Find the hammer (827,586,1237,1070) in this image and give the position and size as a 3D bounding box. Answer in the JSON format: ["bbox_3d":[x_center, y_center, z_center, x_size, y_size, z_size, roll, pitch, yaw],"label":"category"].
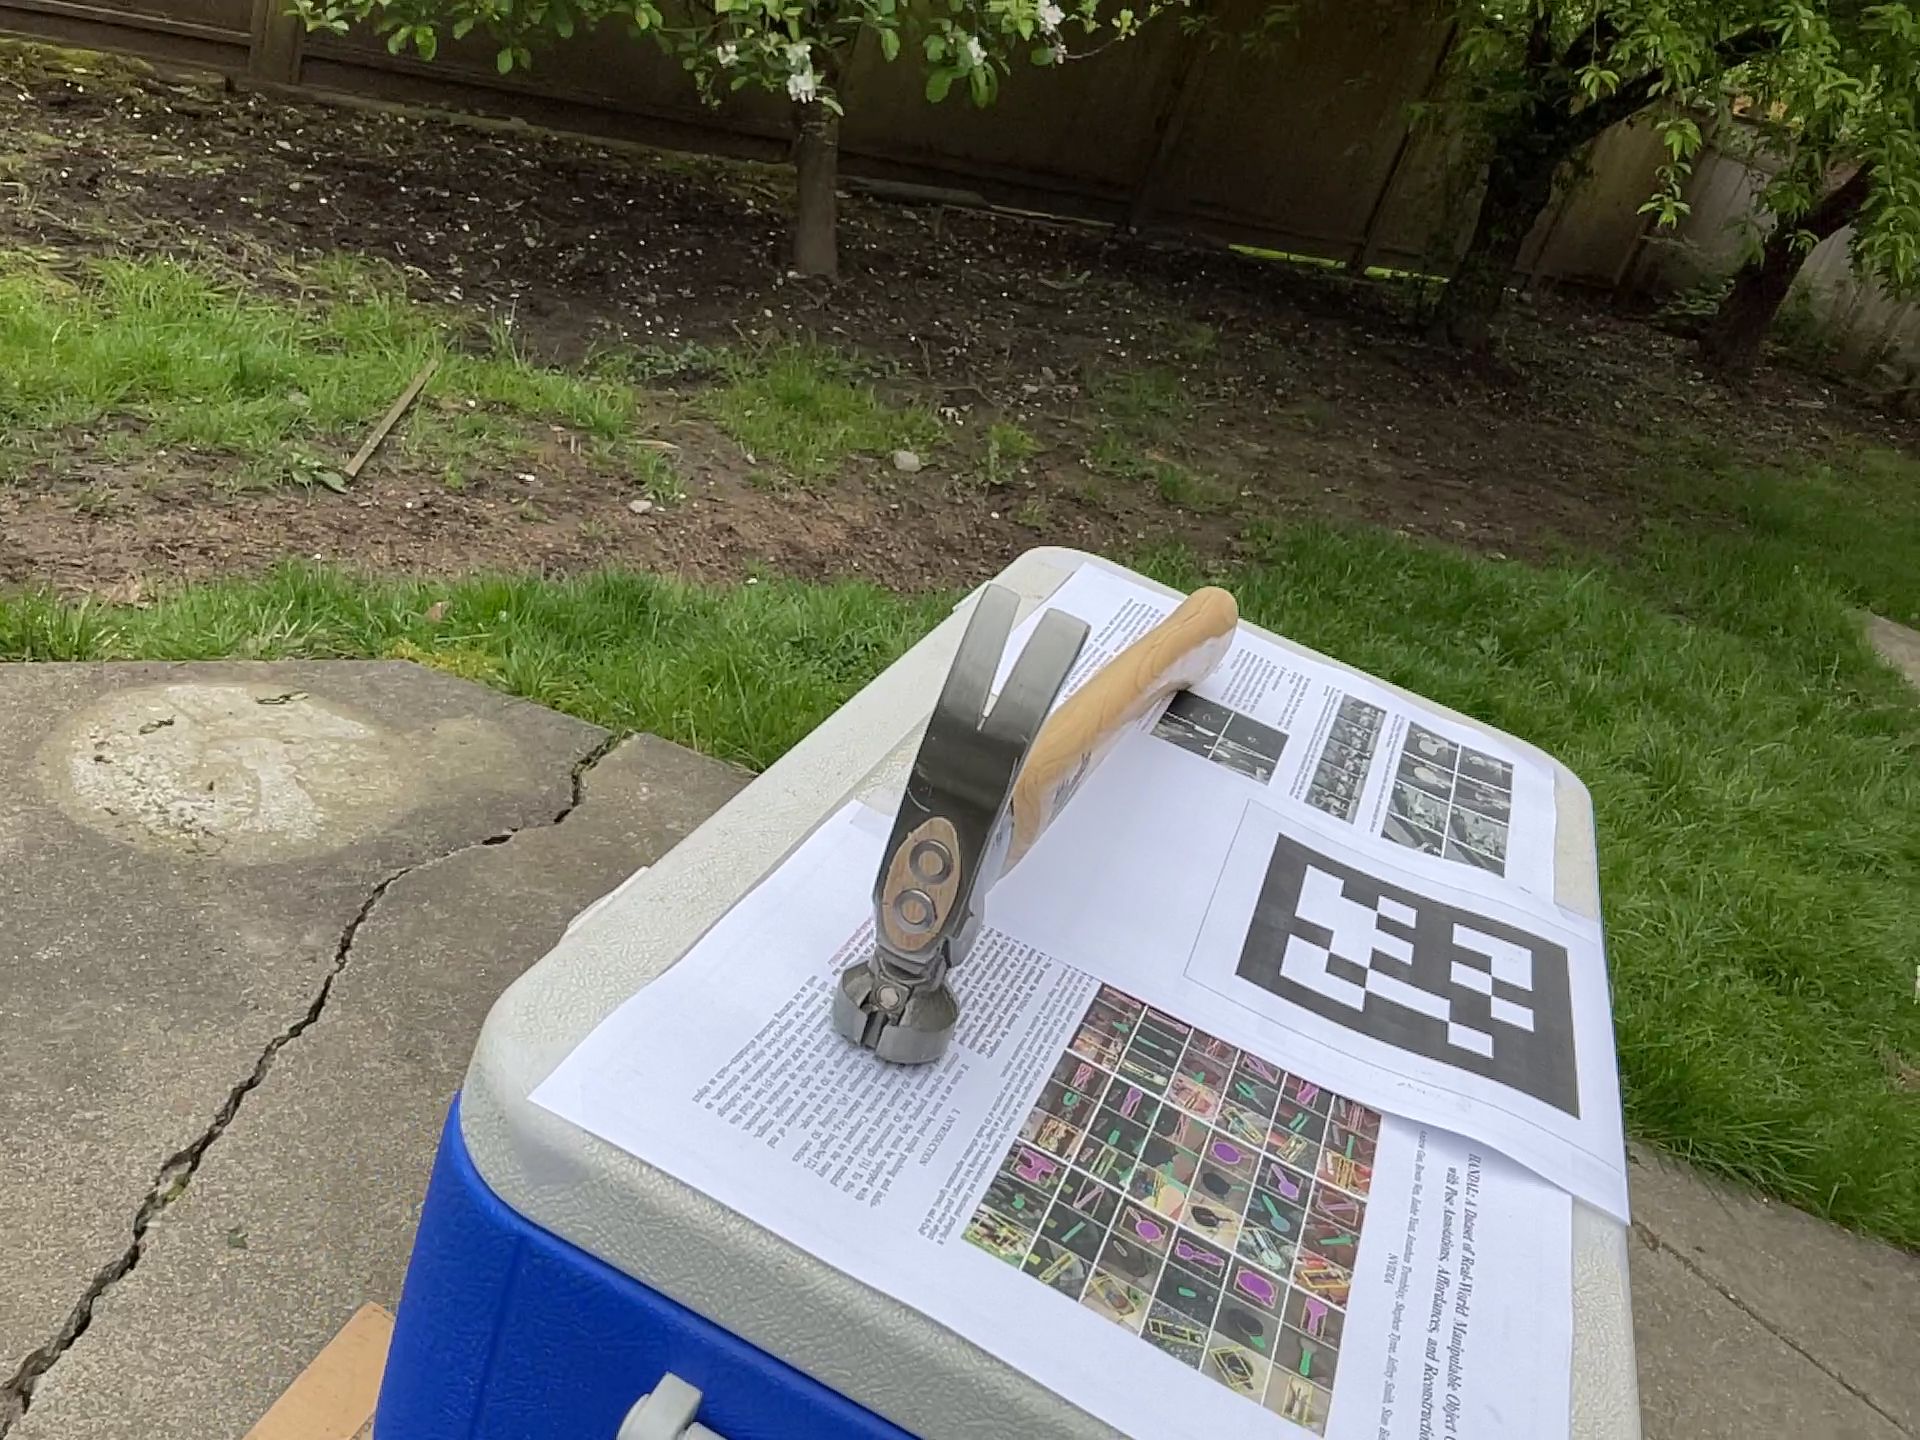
[{"bbox_3d":[0.062,-0.012,0.631,0.038,0.146,0.410,25,21,13],"label":"hammer"}]
